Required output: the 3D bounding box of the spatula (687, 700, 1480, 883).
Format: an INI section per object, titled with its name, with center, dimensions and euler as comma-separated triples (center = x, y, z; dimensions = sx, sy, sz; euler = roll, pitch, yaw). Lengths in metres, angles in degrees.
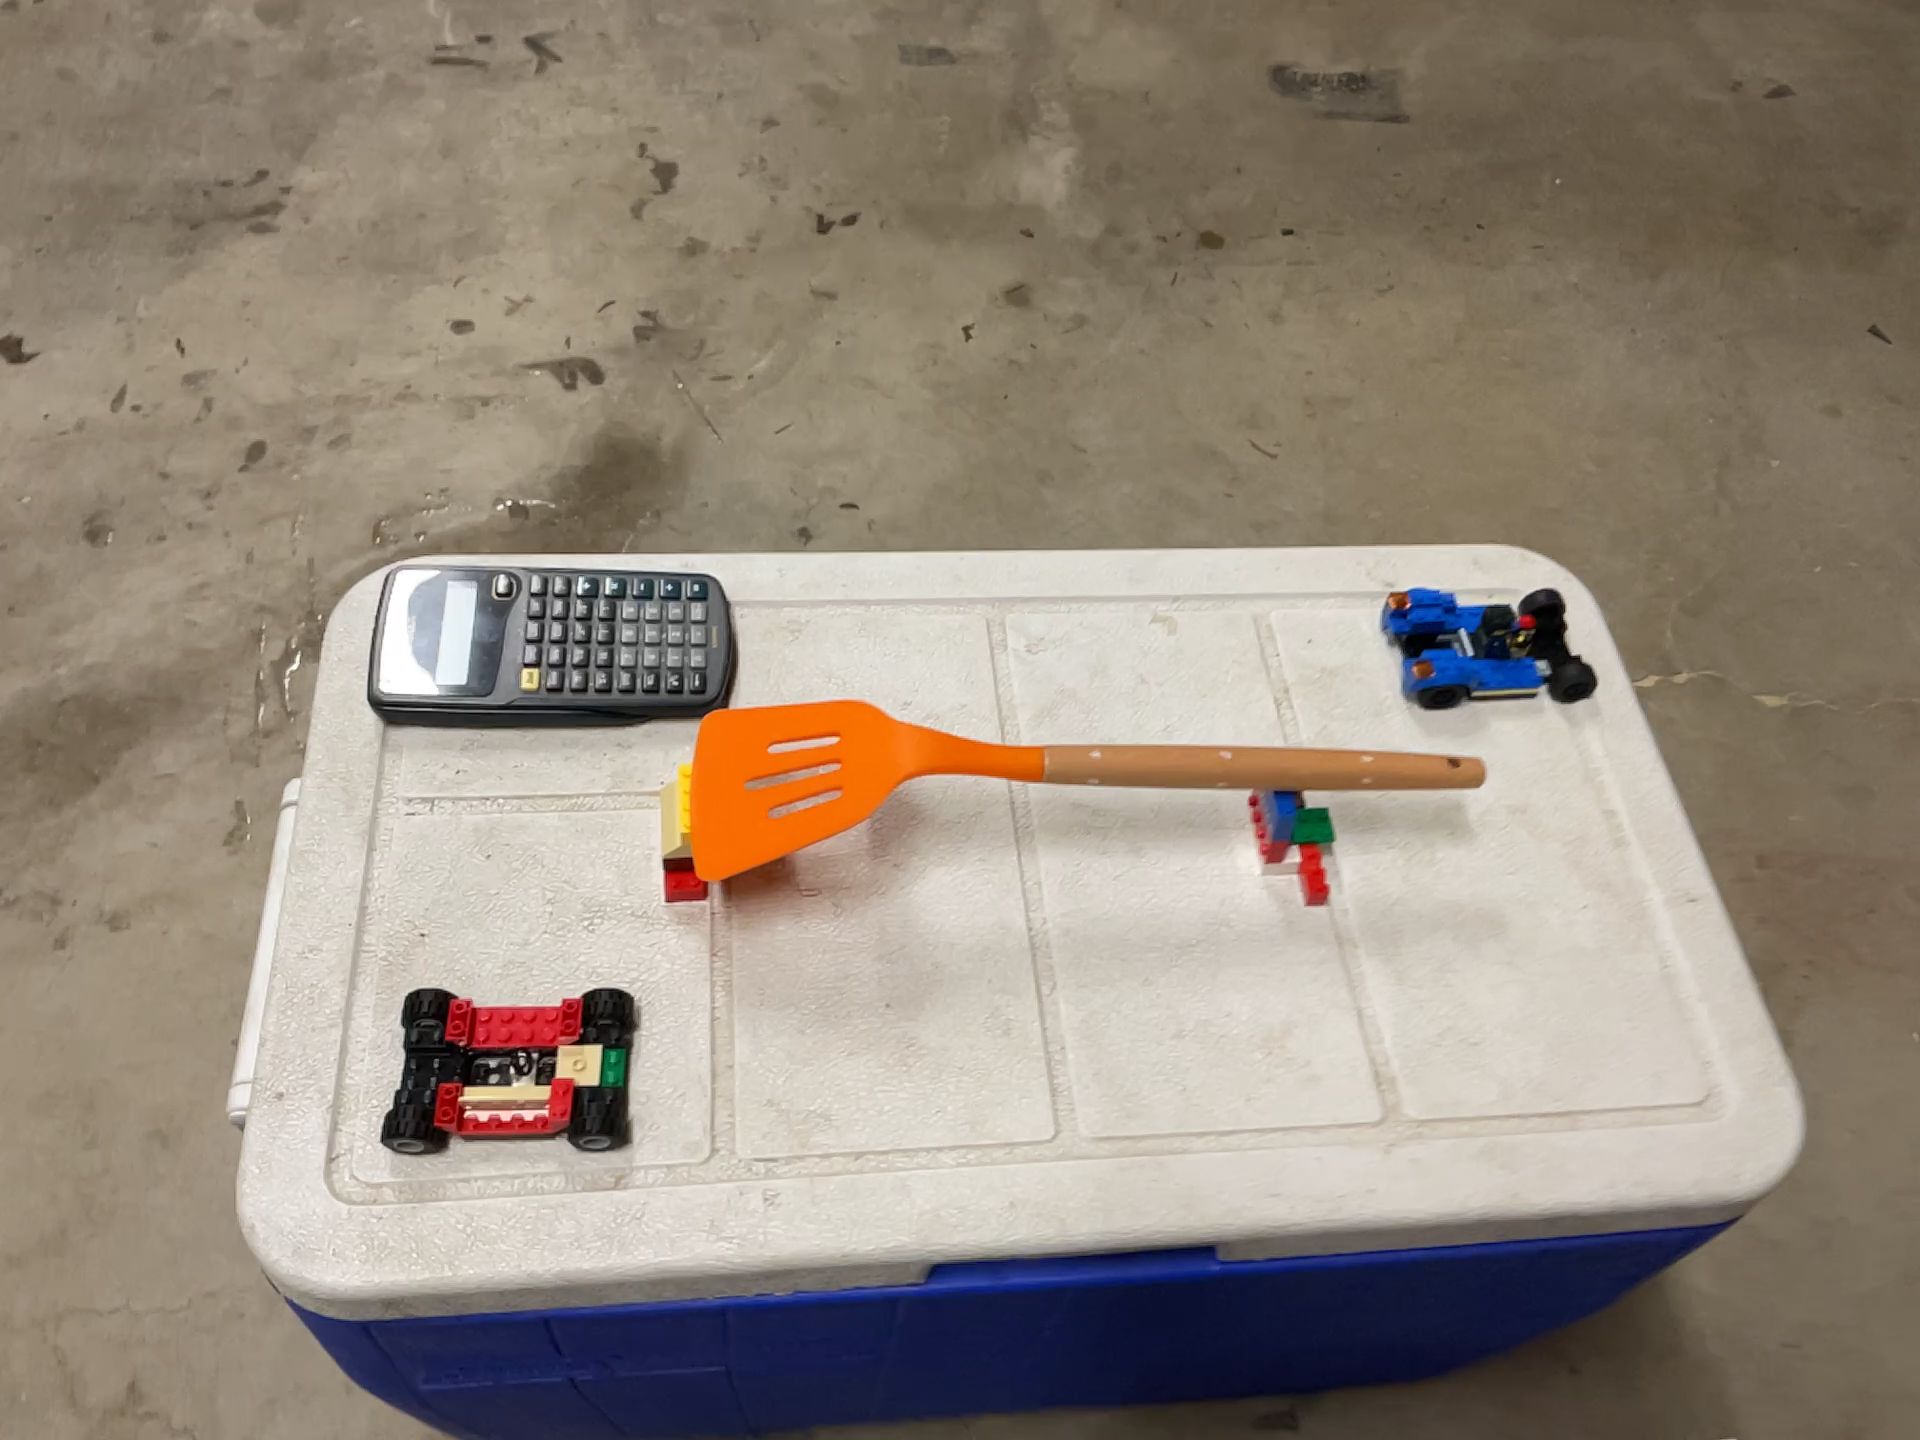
[spatula]
center = 0.054, 0.023, 0.644
dimensions = 0.322, 0.041, 0.081
euler = 1, 54, -10
